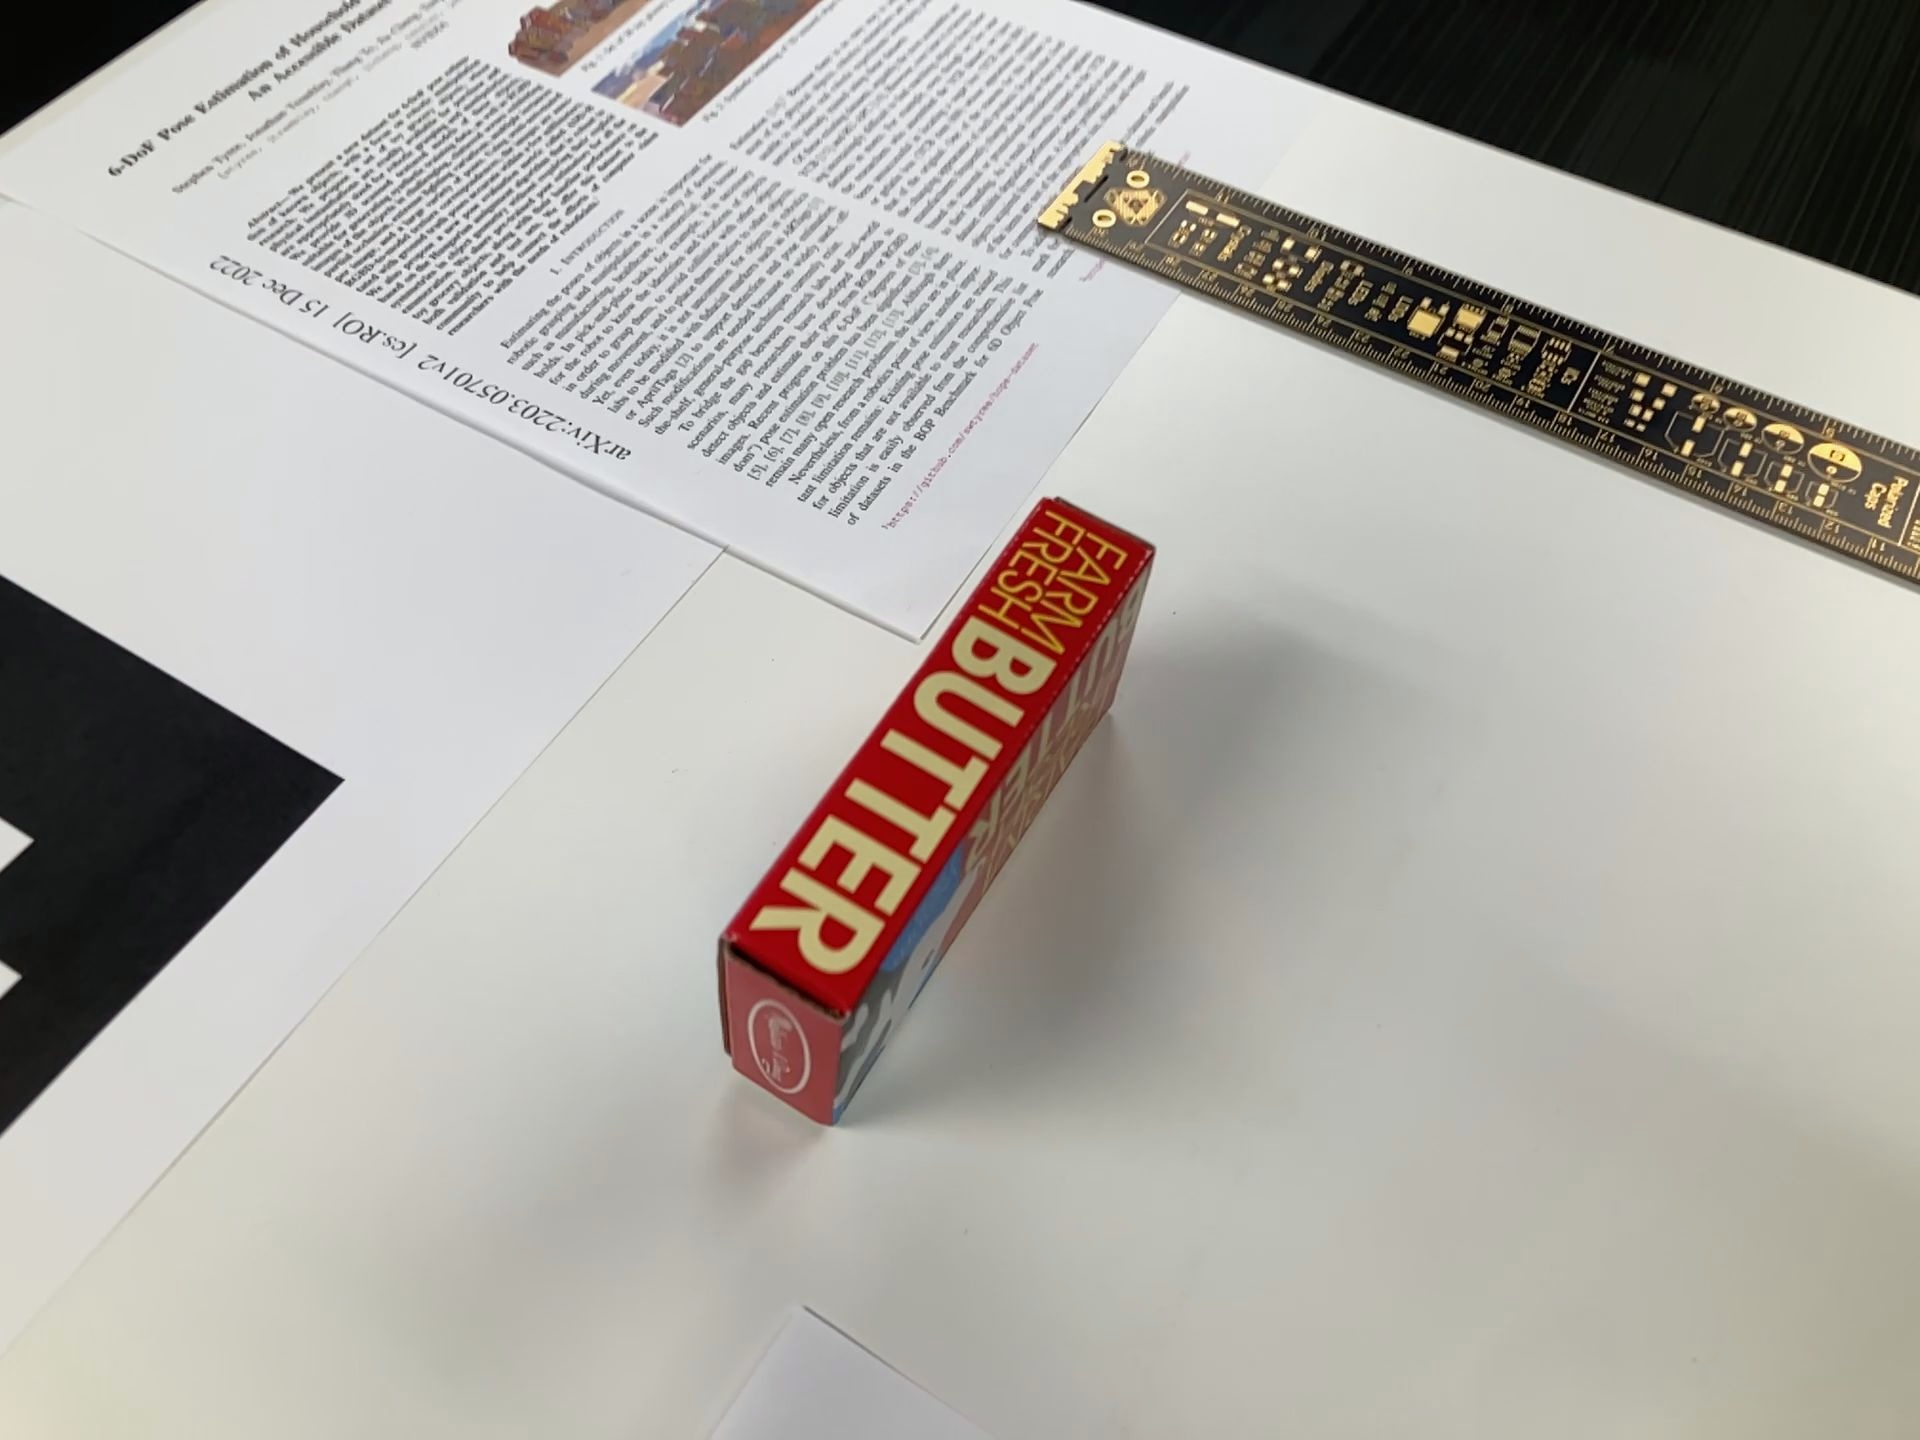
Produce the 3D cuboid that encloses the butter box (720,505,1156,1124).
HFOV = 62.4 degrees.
[{"bbox_3d":[-0.003,0.015,0.277,0.024,0.053,0.103,29,60,11],"label":"butter box"}]
